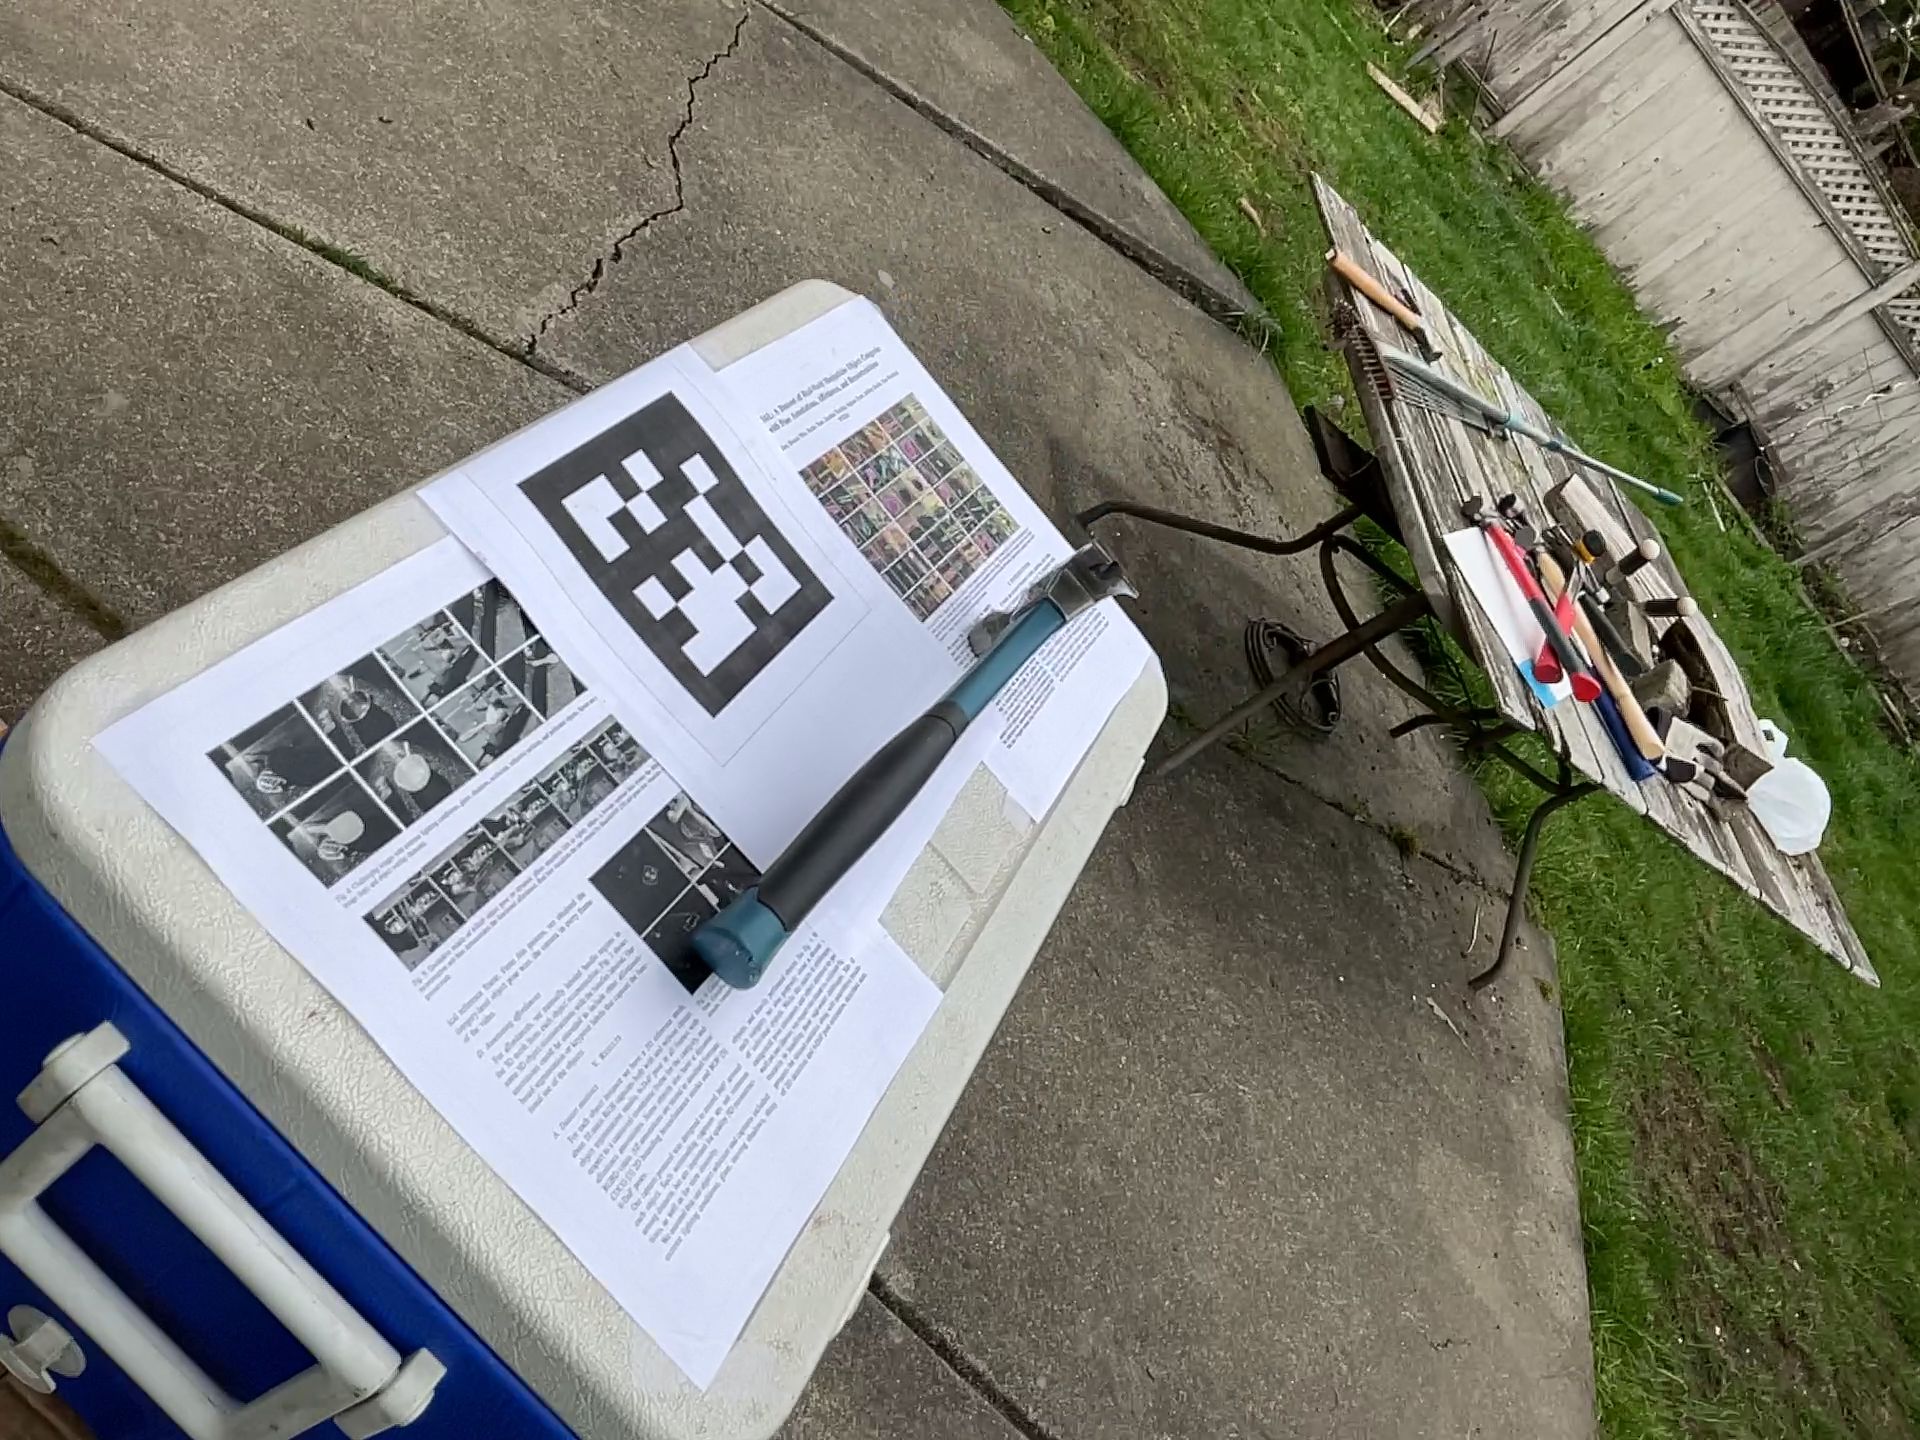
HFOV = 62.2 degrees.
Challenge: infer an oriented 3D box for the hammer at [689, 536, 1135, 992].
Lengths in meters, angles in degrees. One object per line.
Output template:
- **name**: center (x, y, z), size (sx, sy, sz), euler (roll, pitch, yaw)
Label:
- **hammer**: center (-0.016, 0.009, 0.710), size (0.033, 0.128, 0.331), euler (49, 42, -6)
